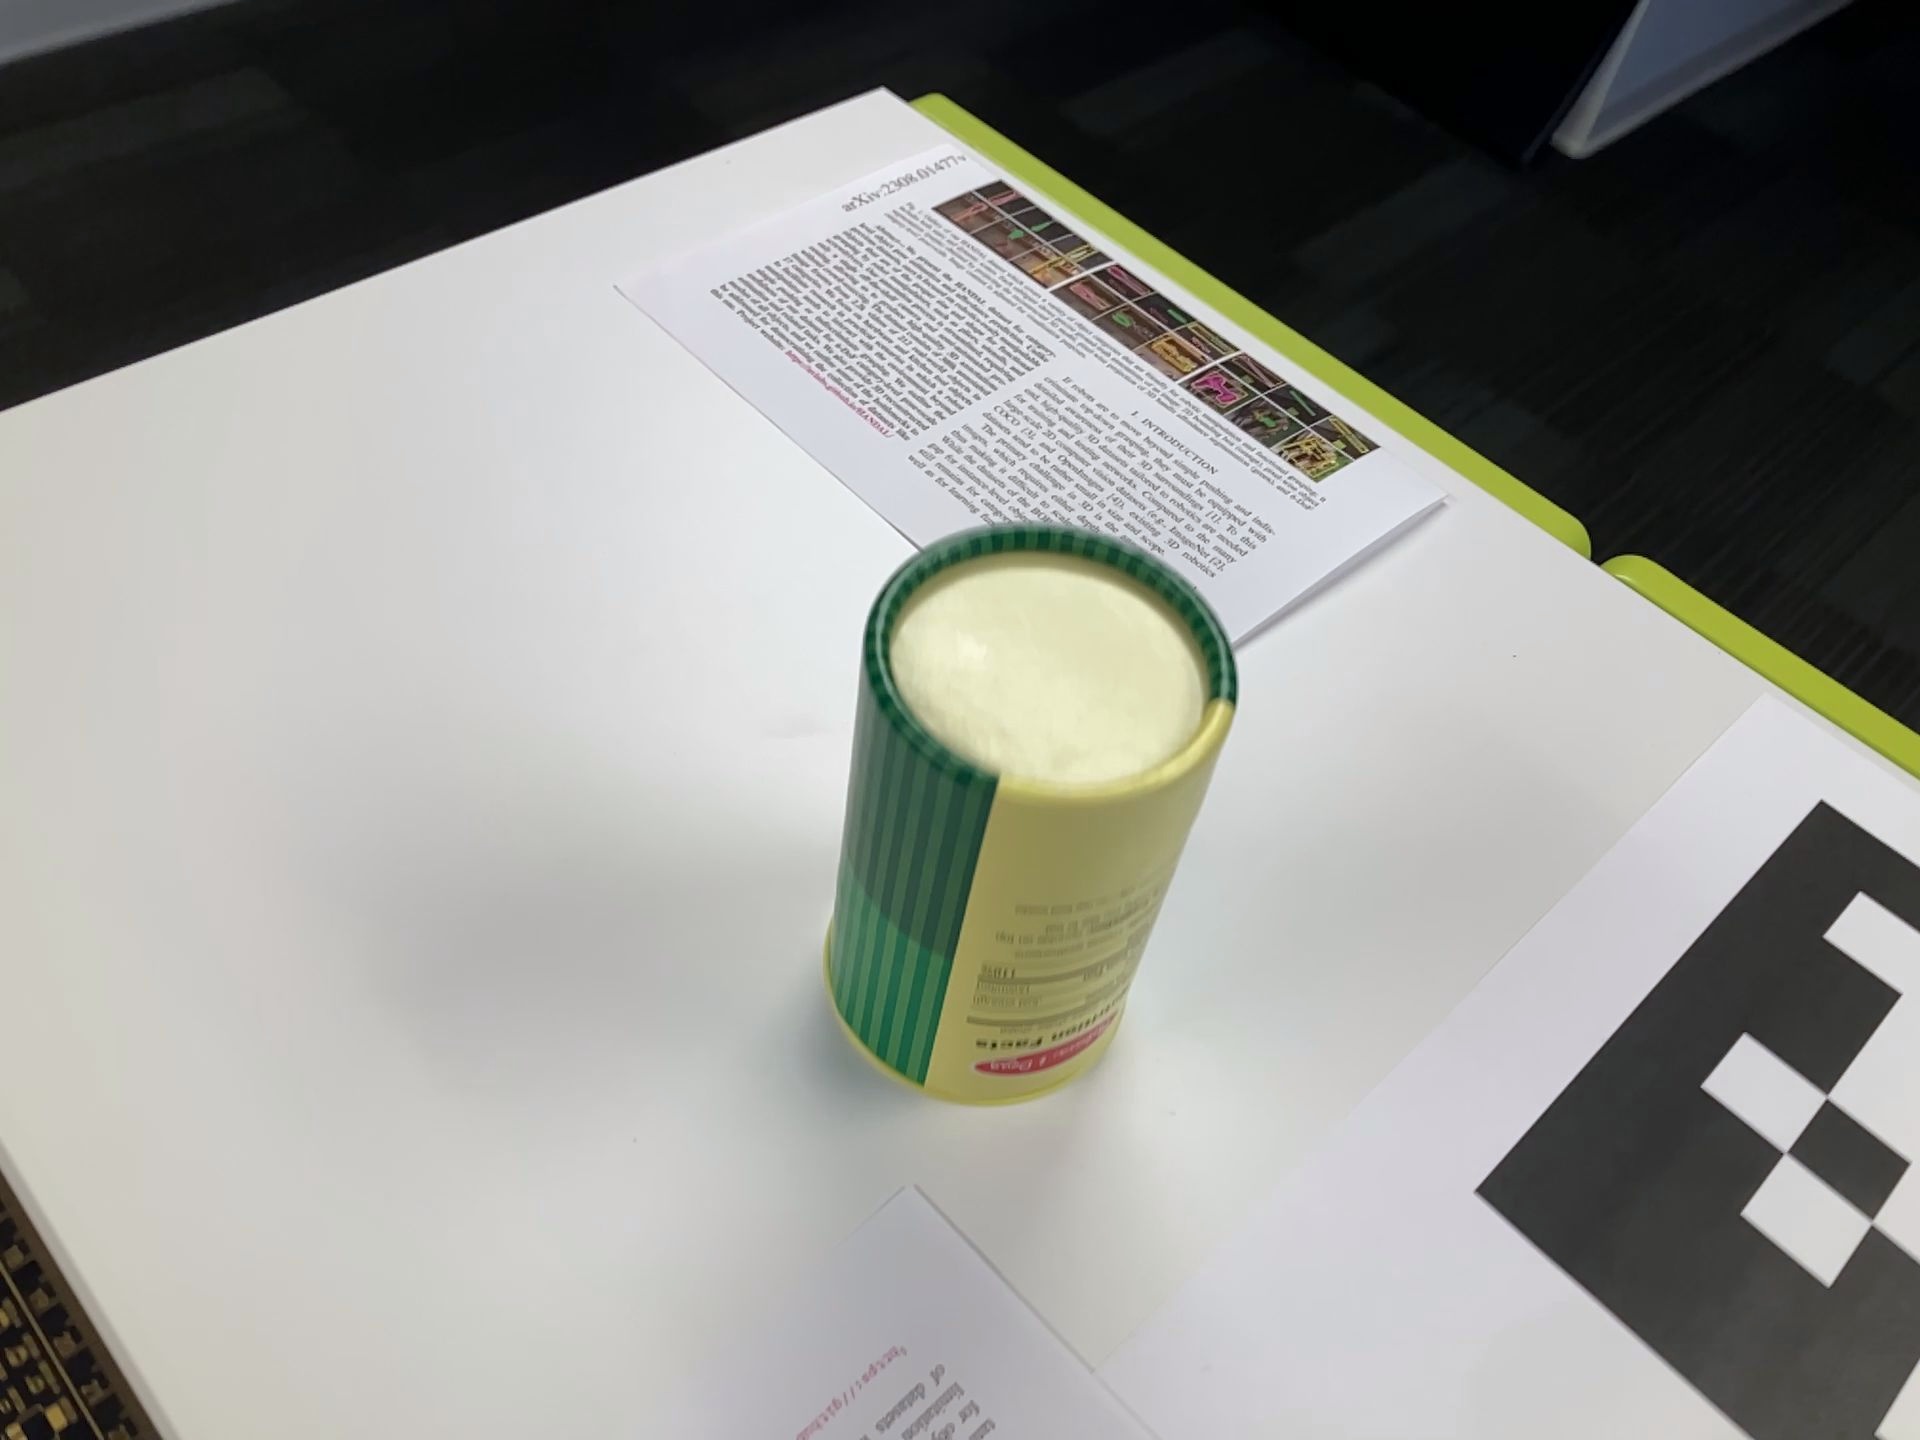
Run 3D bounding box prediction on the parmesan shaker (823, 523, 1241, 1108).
[{"bbox_3d":[0.012,0.020,0.306,0.071,0.103,0.071,5,49,-5],"label":"parmesan shaker"}]
